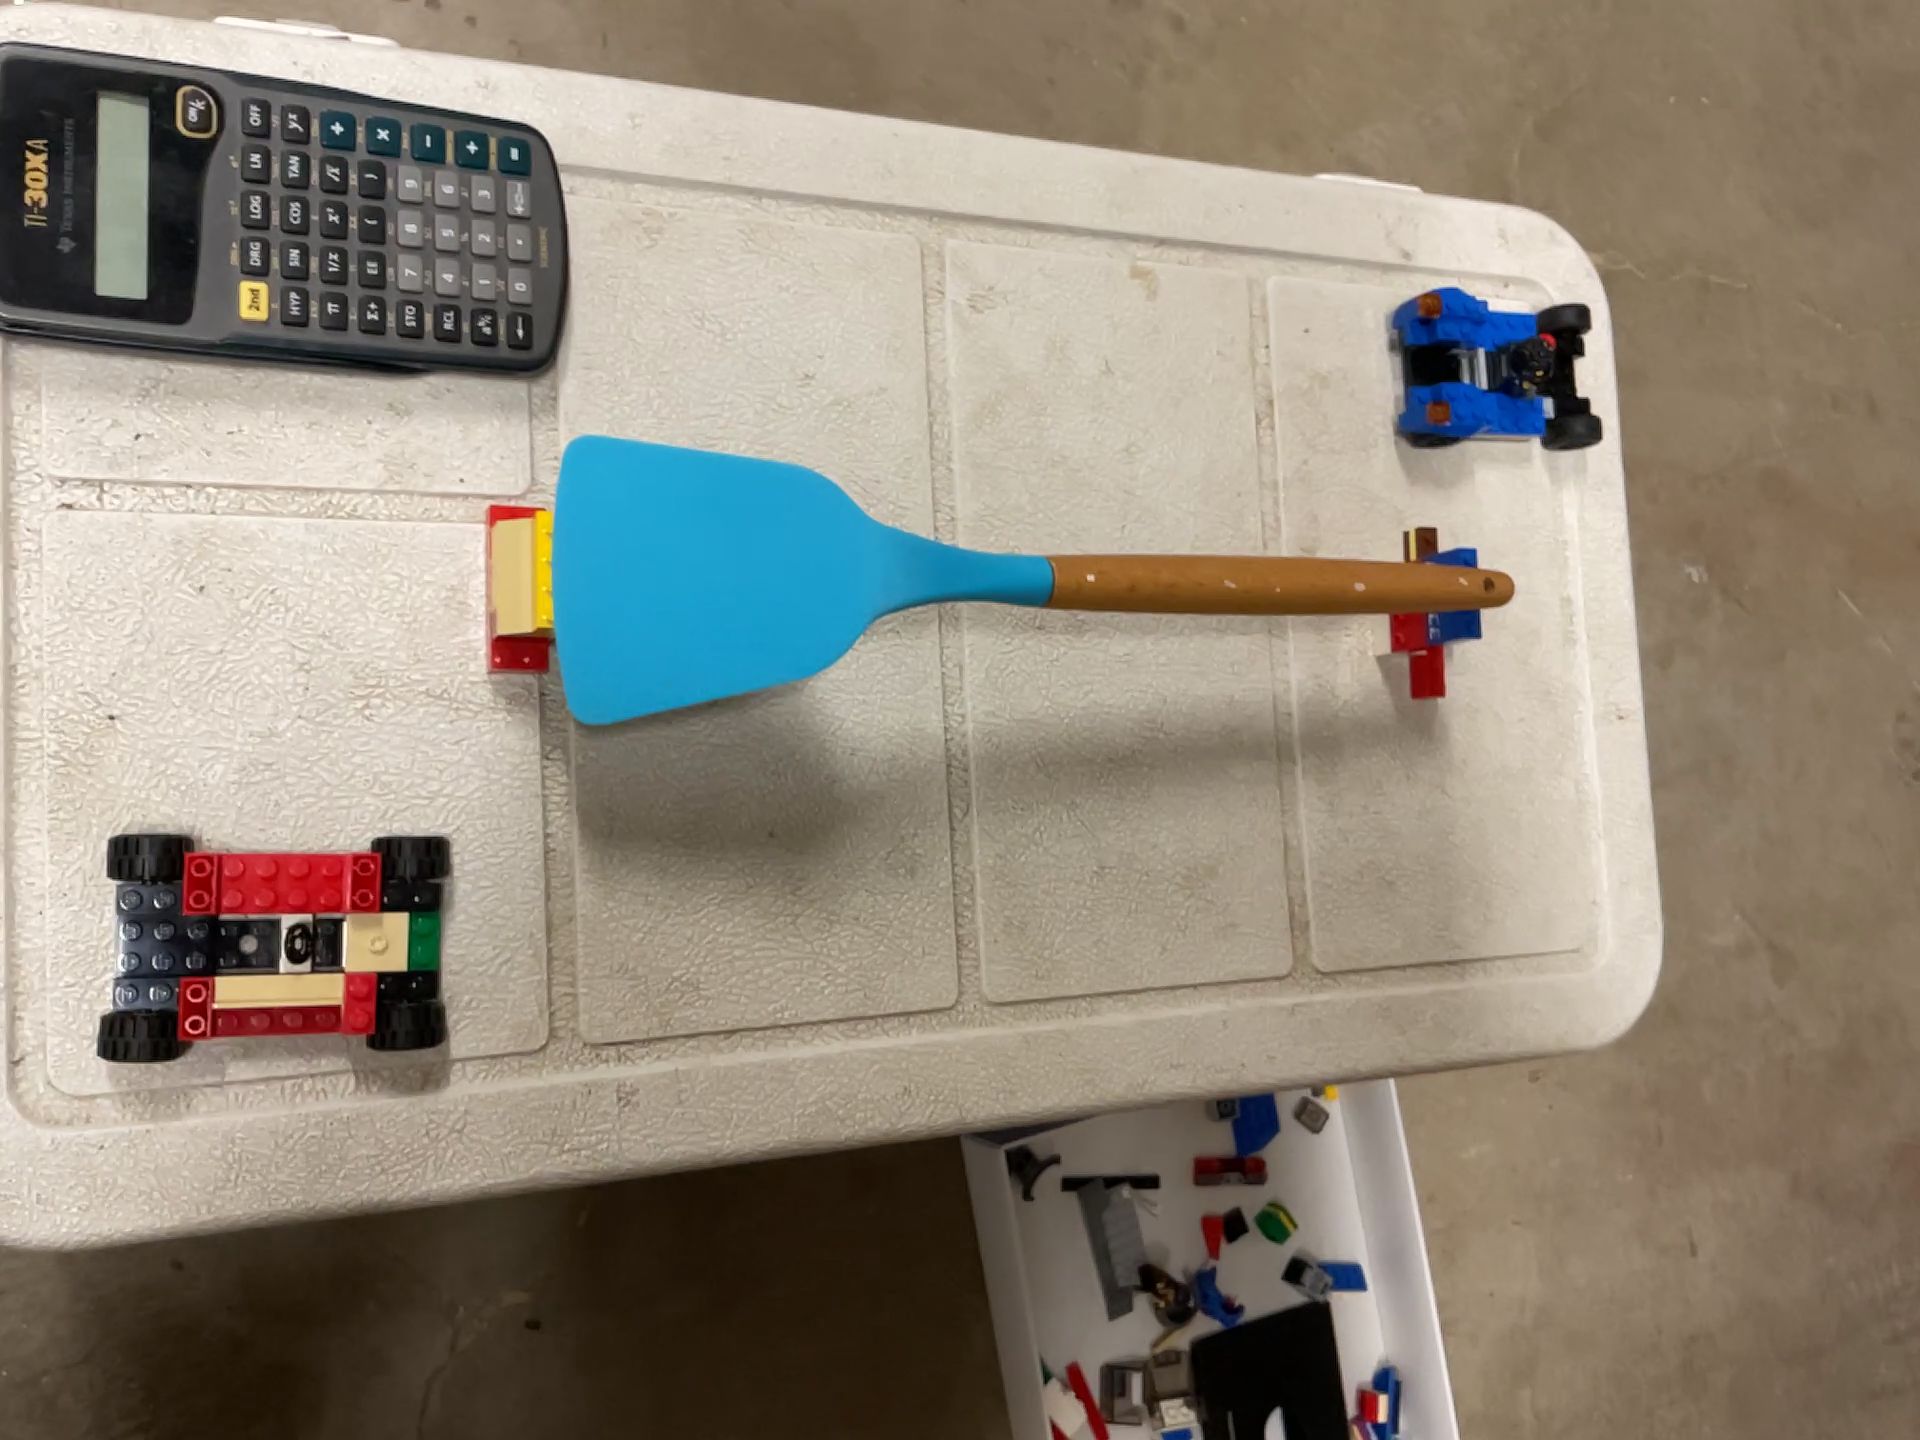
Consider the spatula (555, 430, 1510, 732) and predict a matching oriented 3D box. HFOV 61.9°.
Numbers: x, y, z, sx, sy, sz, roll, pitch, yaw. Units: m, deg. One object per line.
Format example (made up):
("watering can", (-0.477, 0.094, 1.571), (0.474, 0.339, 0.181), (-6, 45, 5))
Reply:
("spatula", (0.041, -0.041, 0.487), (0.318, 0.044, 0.082), (-1, 84, -28))
